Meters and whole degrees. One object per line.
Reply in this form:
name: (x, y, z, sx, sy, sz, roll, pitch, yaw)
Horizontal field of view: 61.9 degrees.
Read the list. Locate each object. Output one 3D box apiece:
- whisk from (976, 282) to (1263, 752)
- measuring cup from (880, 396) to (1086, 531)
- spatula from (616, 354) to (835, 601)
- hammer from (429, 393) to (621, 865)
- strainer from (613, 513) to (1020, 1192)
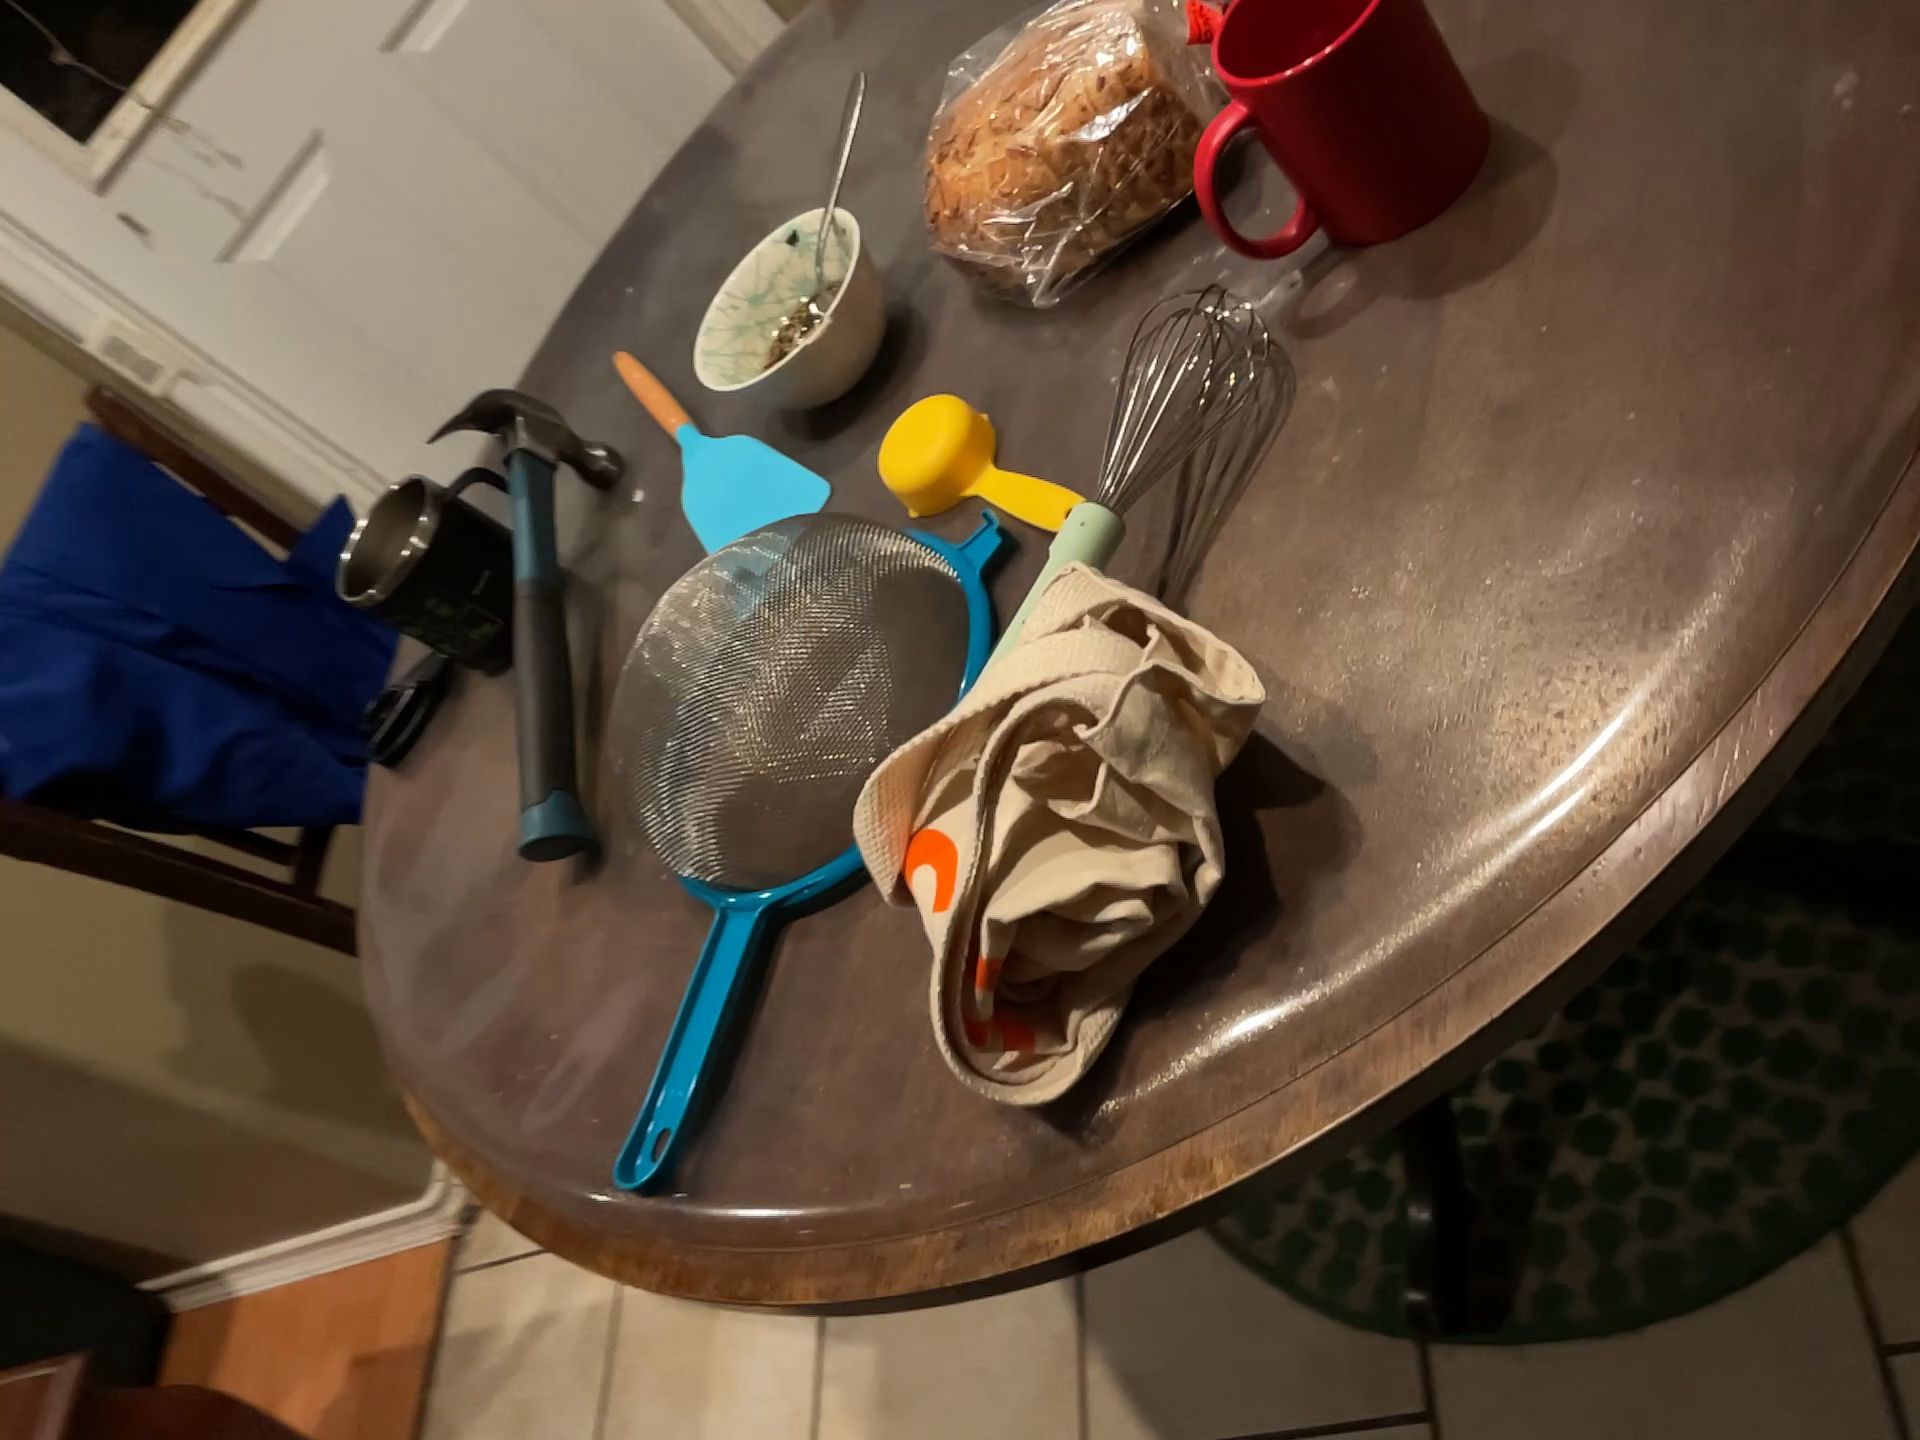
whisk: (0.061, -0.089, 0.661, 0.059, 0.057, 0.246, 21, 65, 18)
measuring cup: (0.011, -0.120, 0.768, 0.062, 0.029, 0.156, -55, 38, -2)
spatula: (-0.166, -0.173, 0.987, 0.082, 0.044, 0.318, -49, 36, 6)
hammer: (-0.240, -0.061, 0.926, 0.033, 0.128, 0.331, -33, 52, 26)
strainer: (-0.109, 0.032, 0.722, 0.211, 0.095, 0.341, -8, 52, 41)
